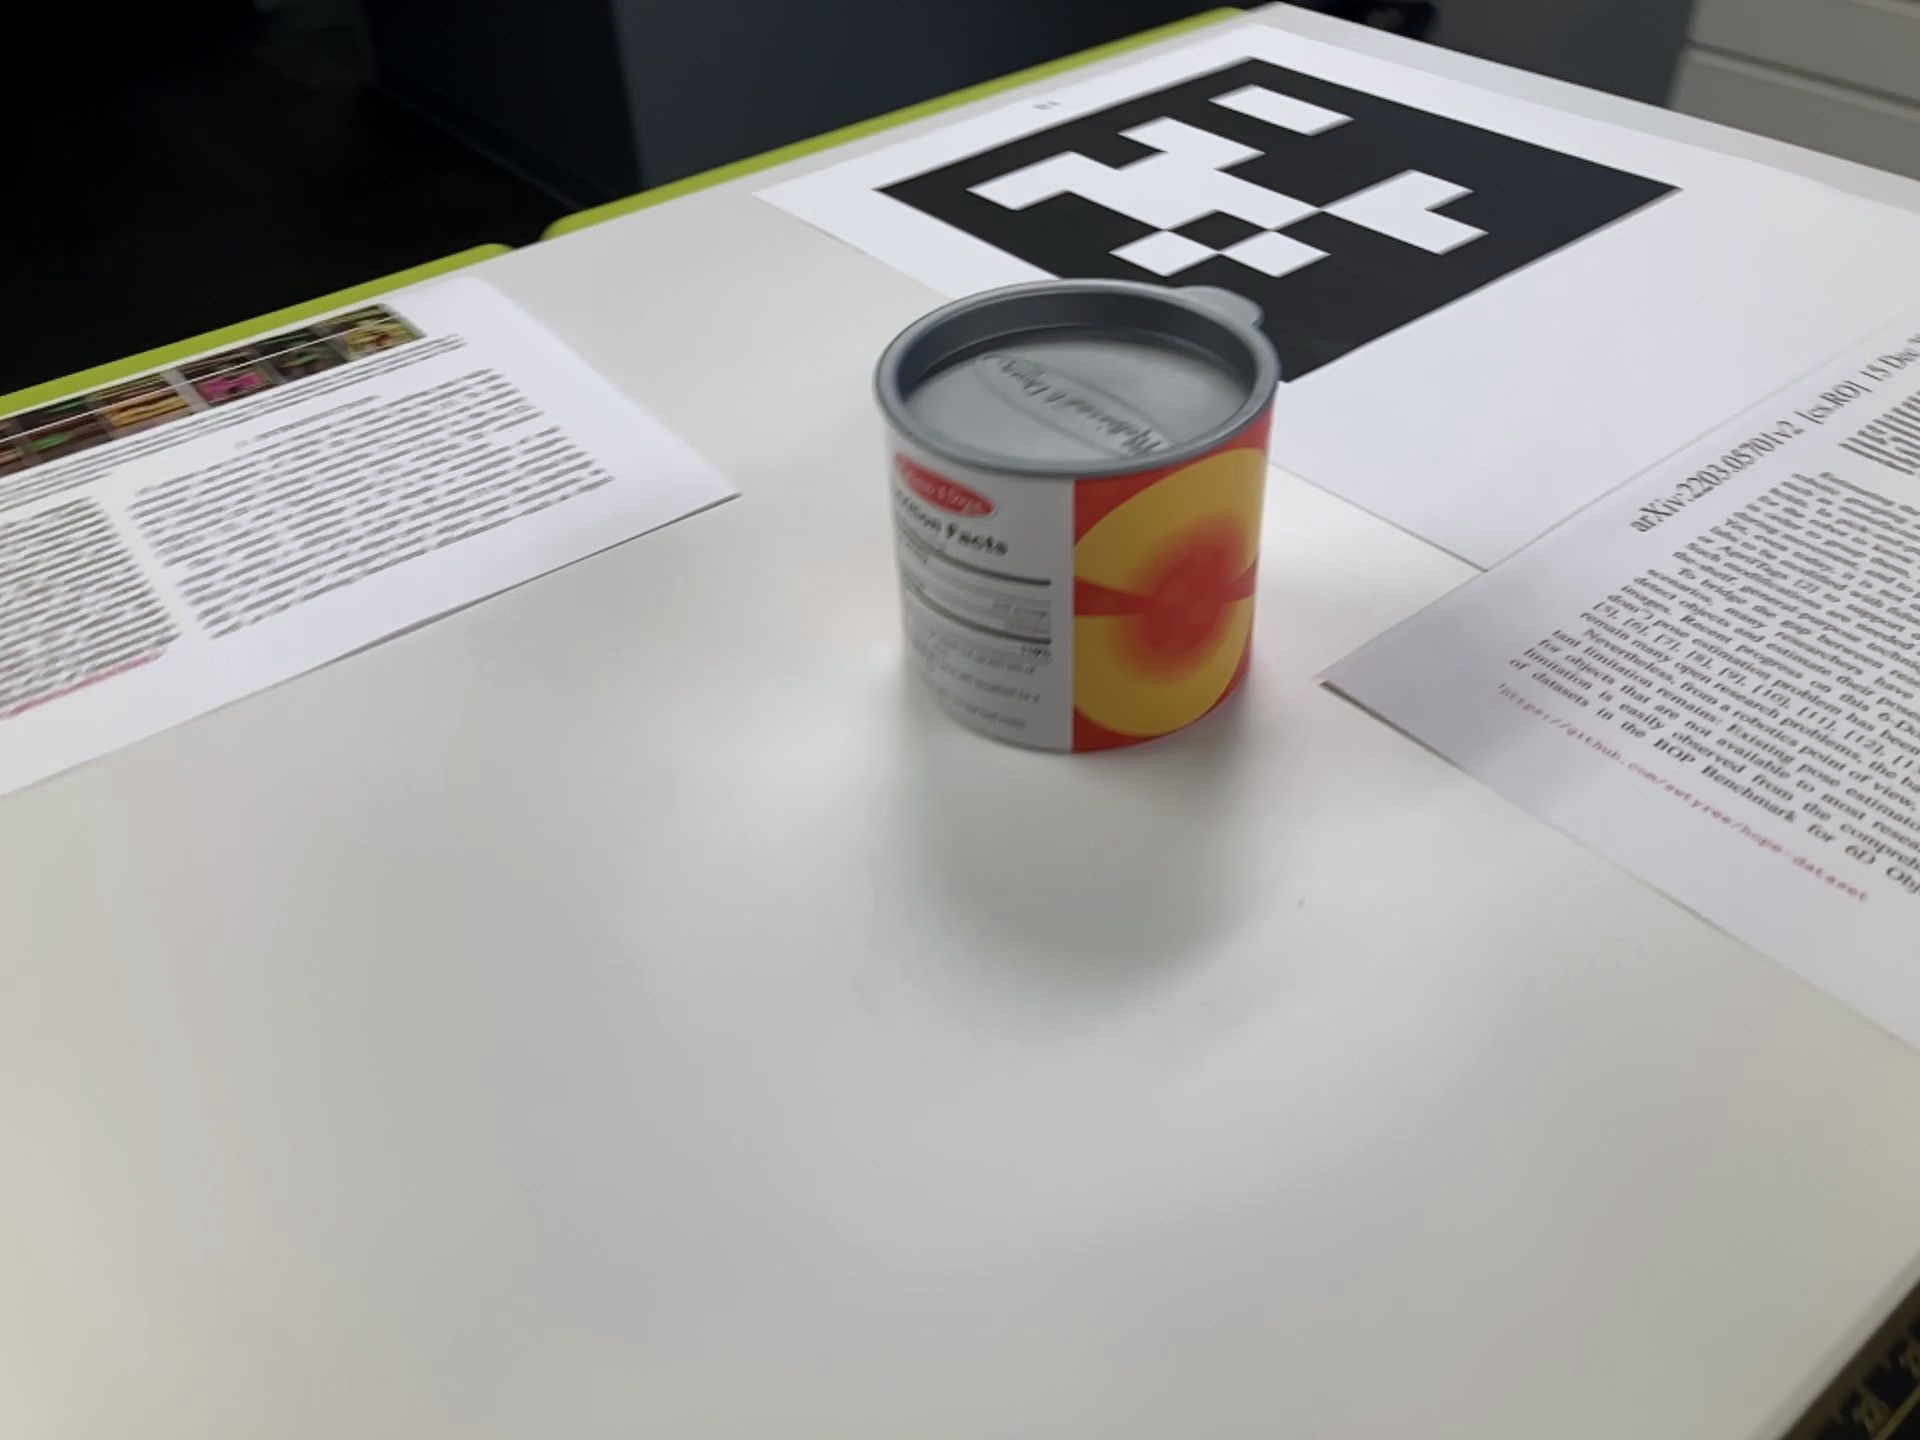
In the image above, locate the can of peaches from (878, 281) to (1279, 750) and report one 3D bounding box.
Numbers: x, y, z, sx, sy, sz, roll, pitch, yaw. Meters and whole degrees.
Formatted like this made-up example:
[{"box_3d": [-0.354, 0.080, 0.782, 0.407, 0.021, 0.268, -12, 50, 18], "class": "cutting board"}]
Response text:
[{"box_3d": [0.023, -0.038, 0.282, 0.071, 0.058, 0.071, -2, 39, 2], "class": "can of peaches"}]
